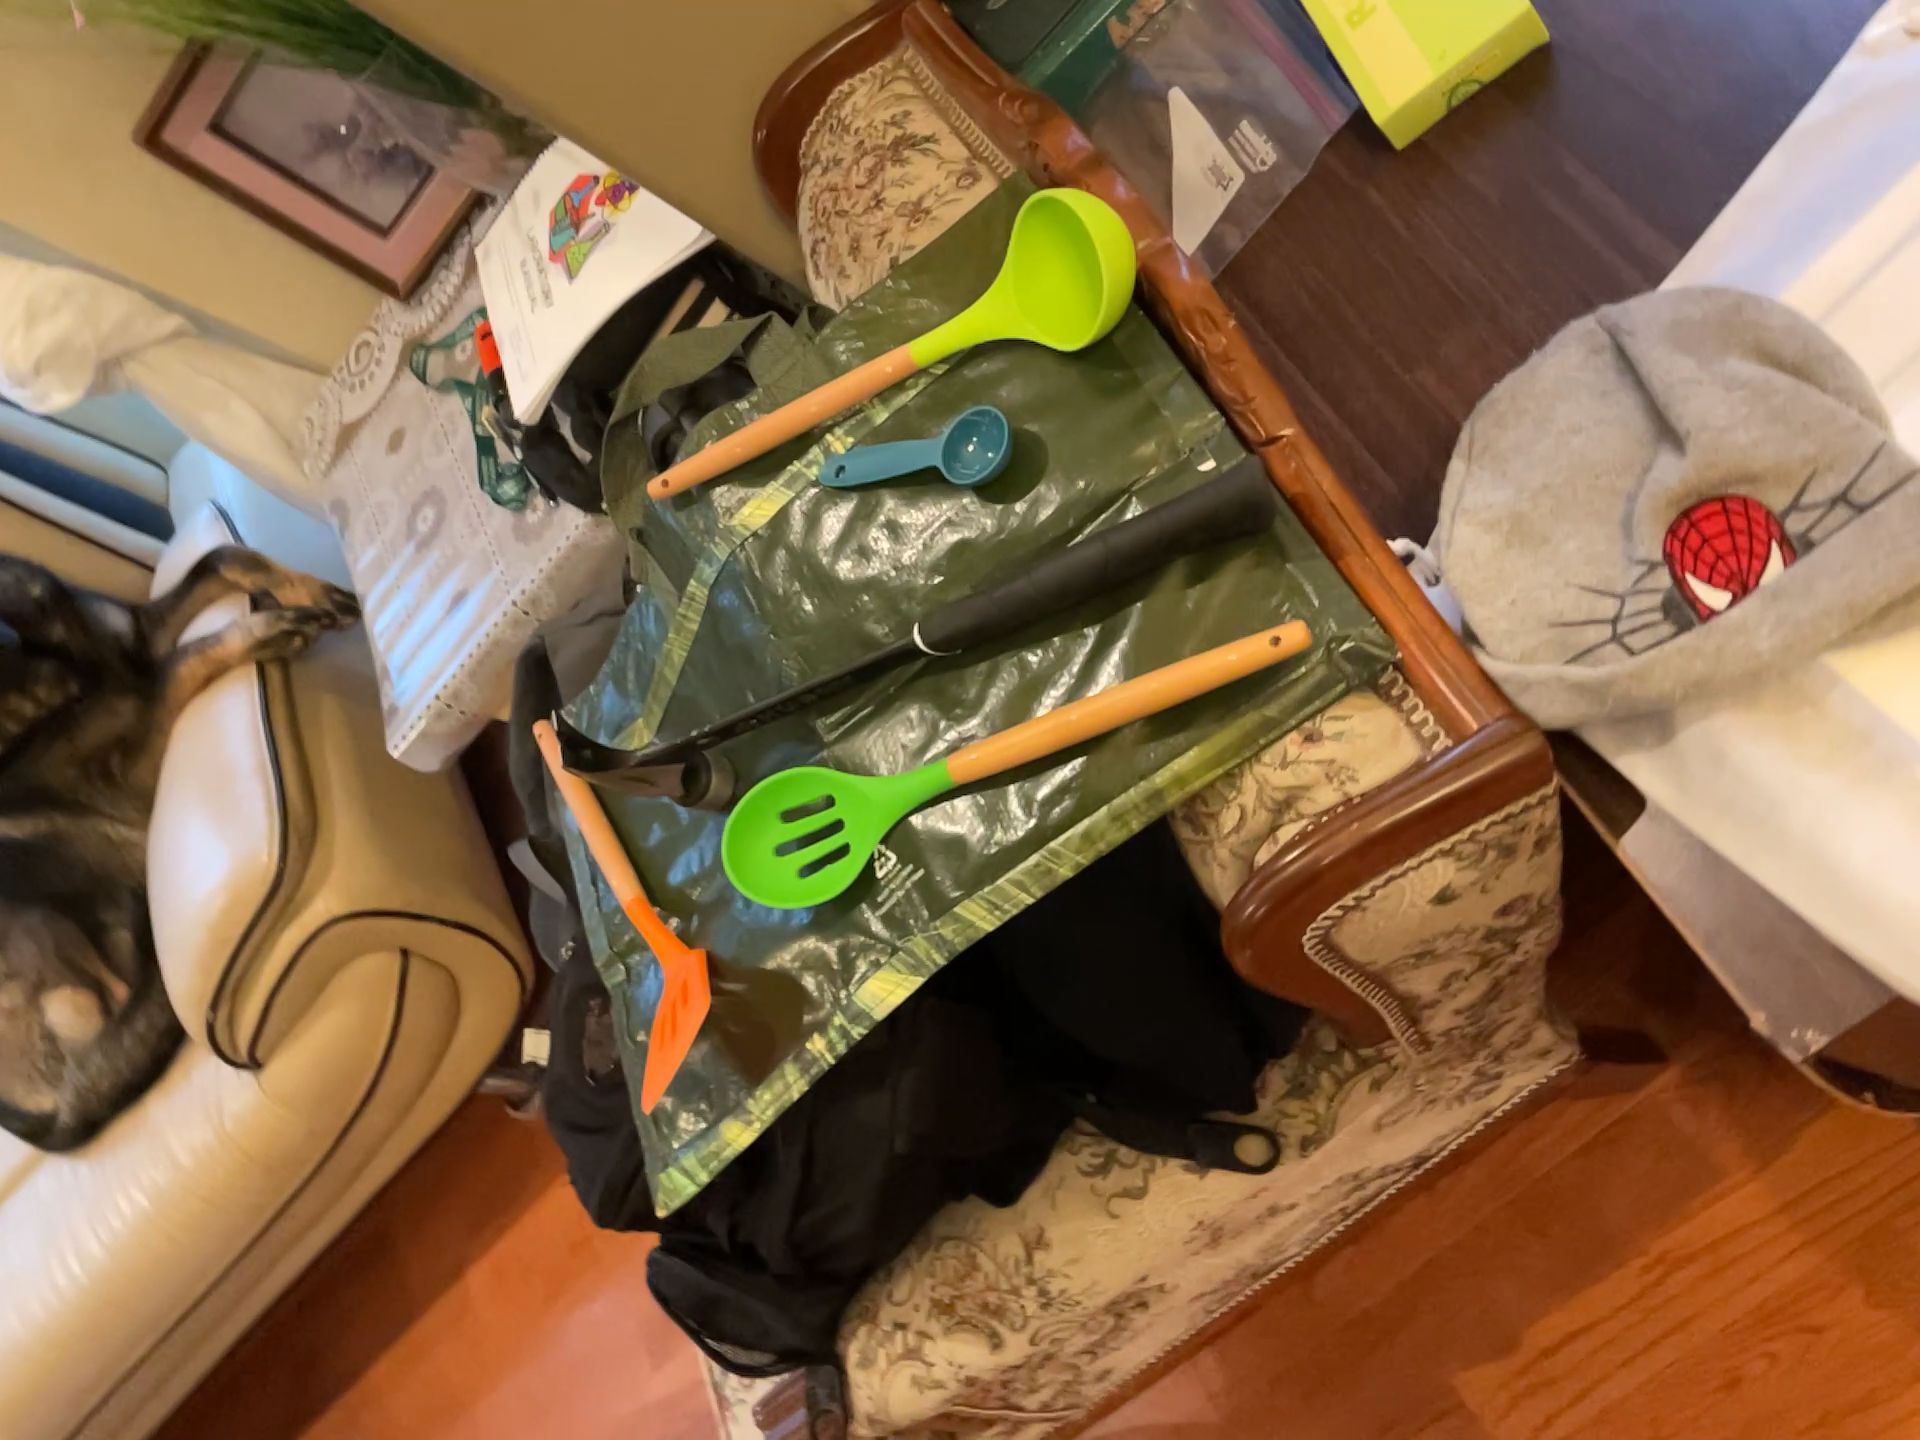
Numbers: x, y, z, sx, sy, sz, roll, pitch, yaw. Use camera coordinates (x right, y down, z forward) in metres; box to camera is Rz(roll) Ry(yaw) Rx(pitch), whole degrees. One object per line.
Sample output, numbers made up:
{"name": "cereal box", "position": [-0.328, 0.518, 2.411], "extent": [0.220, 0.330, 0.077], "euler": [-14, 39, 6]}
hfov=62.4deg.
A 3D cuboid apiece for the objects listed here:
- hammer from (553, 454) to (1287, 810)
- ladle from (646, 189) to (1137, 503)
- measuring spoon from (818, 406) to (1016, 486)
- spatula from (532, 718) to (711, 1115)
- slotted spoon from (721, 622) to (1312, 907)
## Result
{"name": "hammer", "position": [-0.026, -0.039, 0.800], "extent": [0.409, 0.149, 0.036], "euler": [-22, 71, 25]}
{"name": "ladle", "position": [-0.050, -0.183, 0.841], "extent": [0.320, 0.062, 0.078], "euler": [-21, 88, 26]}
{"name": "measuring spoon", "position": [-0.021, -0.134, 0.828], "extent": [0.129, 0.021, 0.042], "euler": [-2, 72, 38]}
{"name": "spatula", "position": [-0.212, 0.094, 0.954], "extent": [0.081, 0.041, 0.323], "euler": [-58, 45, 19]}
{"name": "slotted spoon", "position": [0.020, 0.018, 0.760], "extent": [0.314, 0.031, 0.070], "euler": [-22, 77, 23]}
